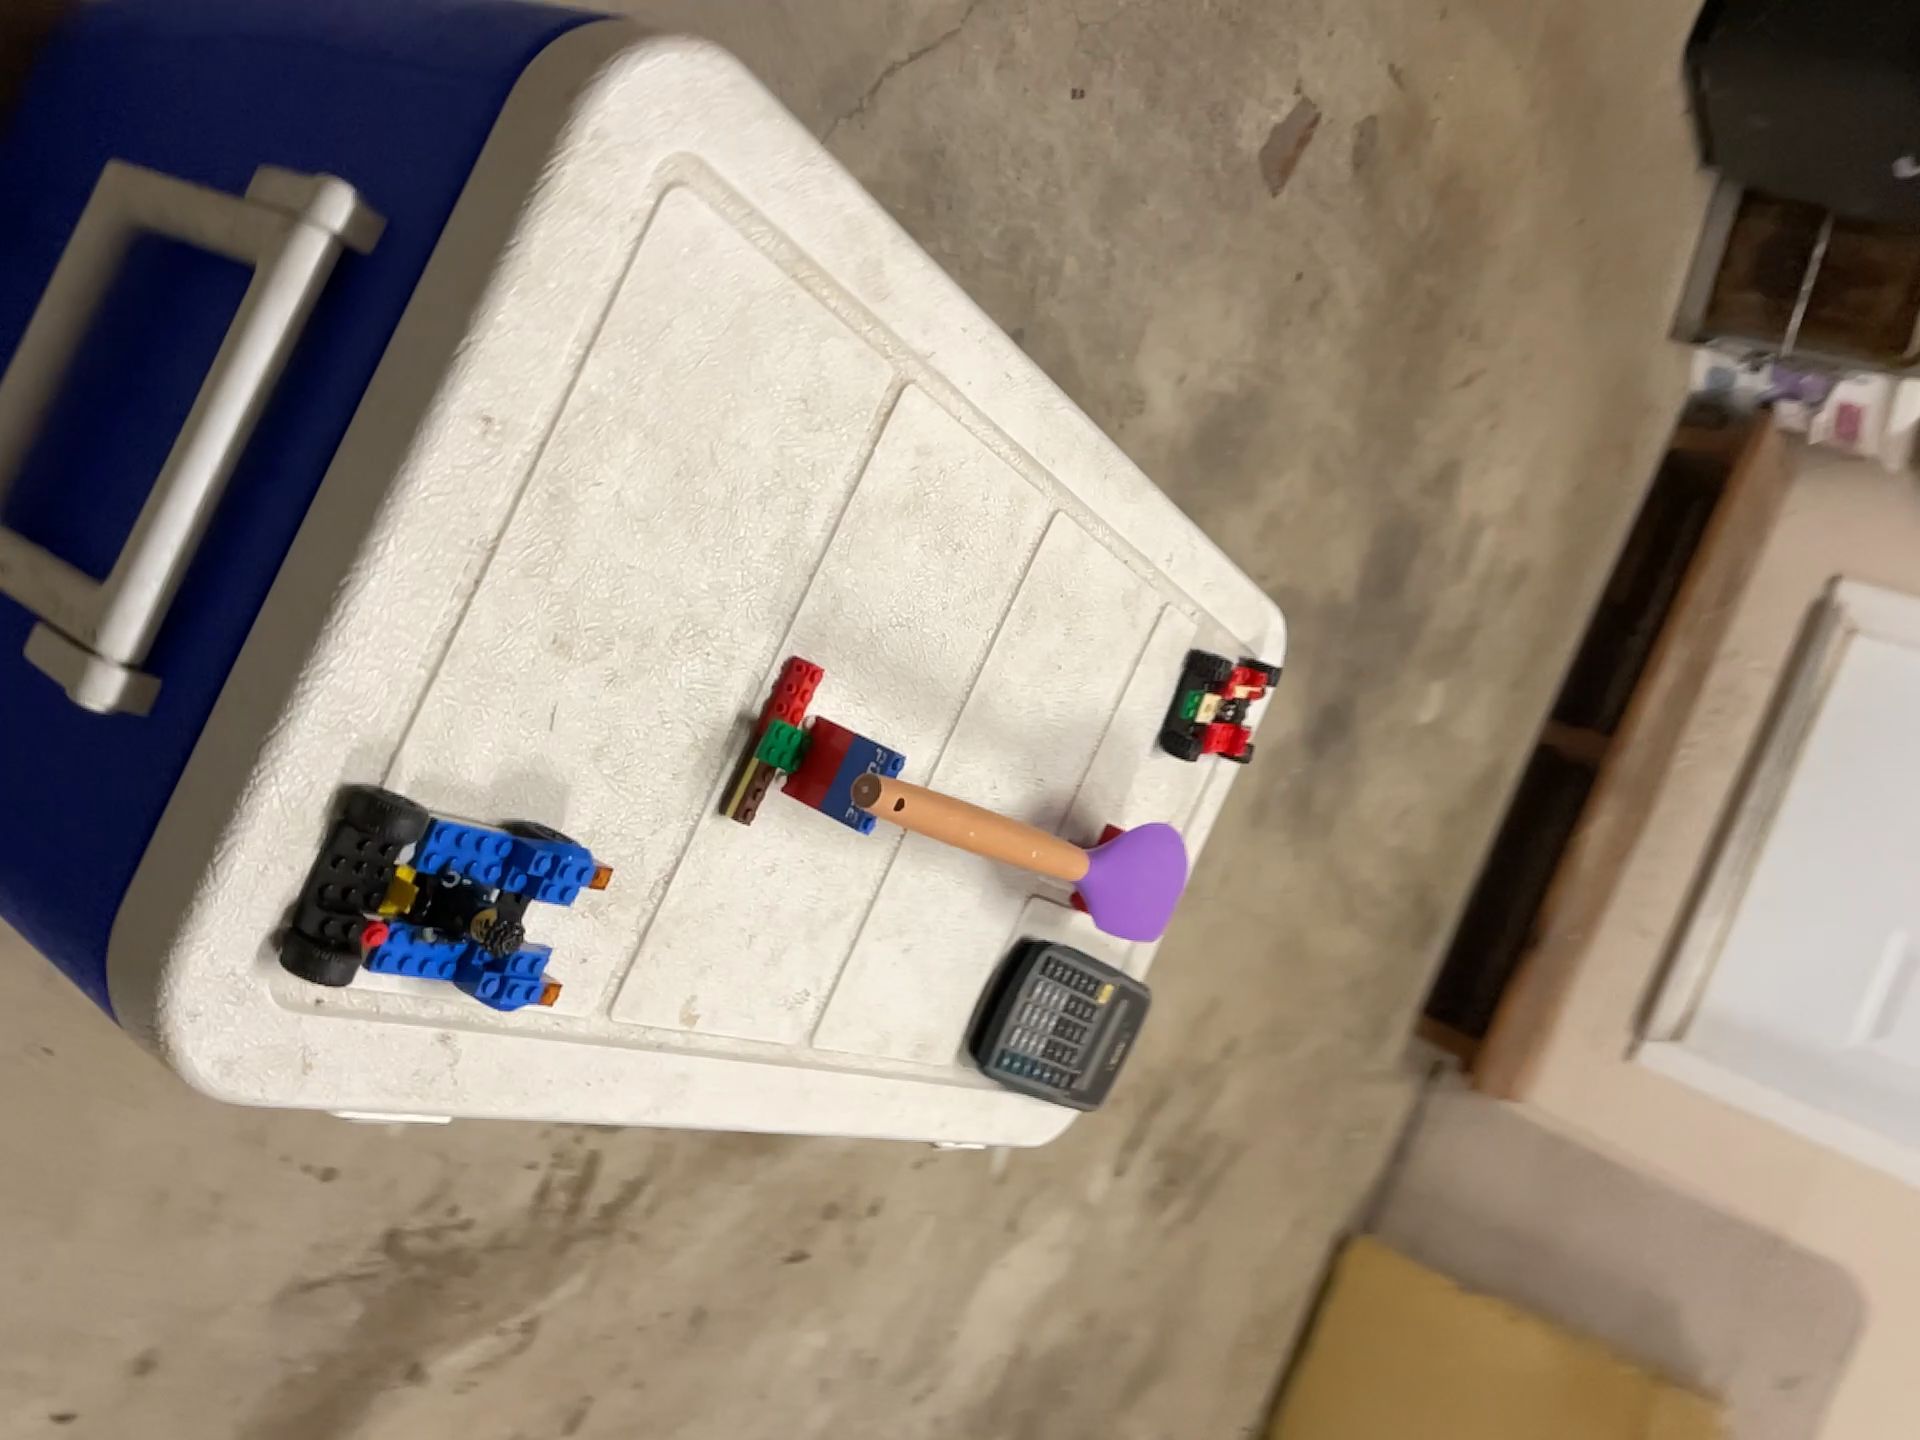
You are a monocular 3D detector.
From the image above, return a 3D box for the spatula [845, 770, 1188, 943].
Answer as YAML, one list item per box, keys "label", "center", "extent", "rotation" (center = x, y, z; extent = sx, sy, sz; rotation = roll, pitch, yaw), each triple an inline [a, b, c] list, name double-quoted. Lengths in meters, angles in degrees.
- label: "spatula"
  center: [0.038, 0.055, 0.678]
  extent: [0.316, 0.018, 0.060]
  rotation: [25, 90, -60]
